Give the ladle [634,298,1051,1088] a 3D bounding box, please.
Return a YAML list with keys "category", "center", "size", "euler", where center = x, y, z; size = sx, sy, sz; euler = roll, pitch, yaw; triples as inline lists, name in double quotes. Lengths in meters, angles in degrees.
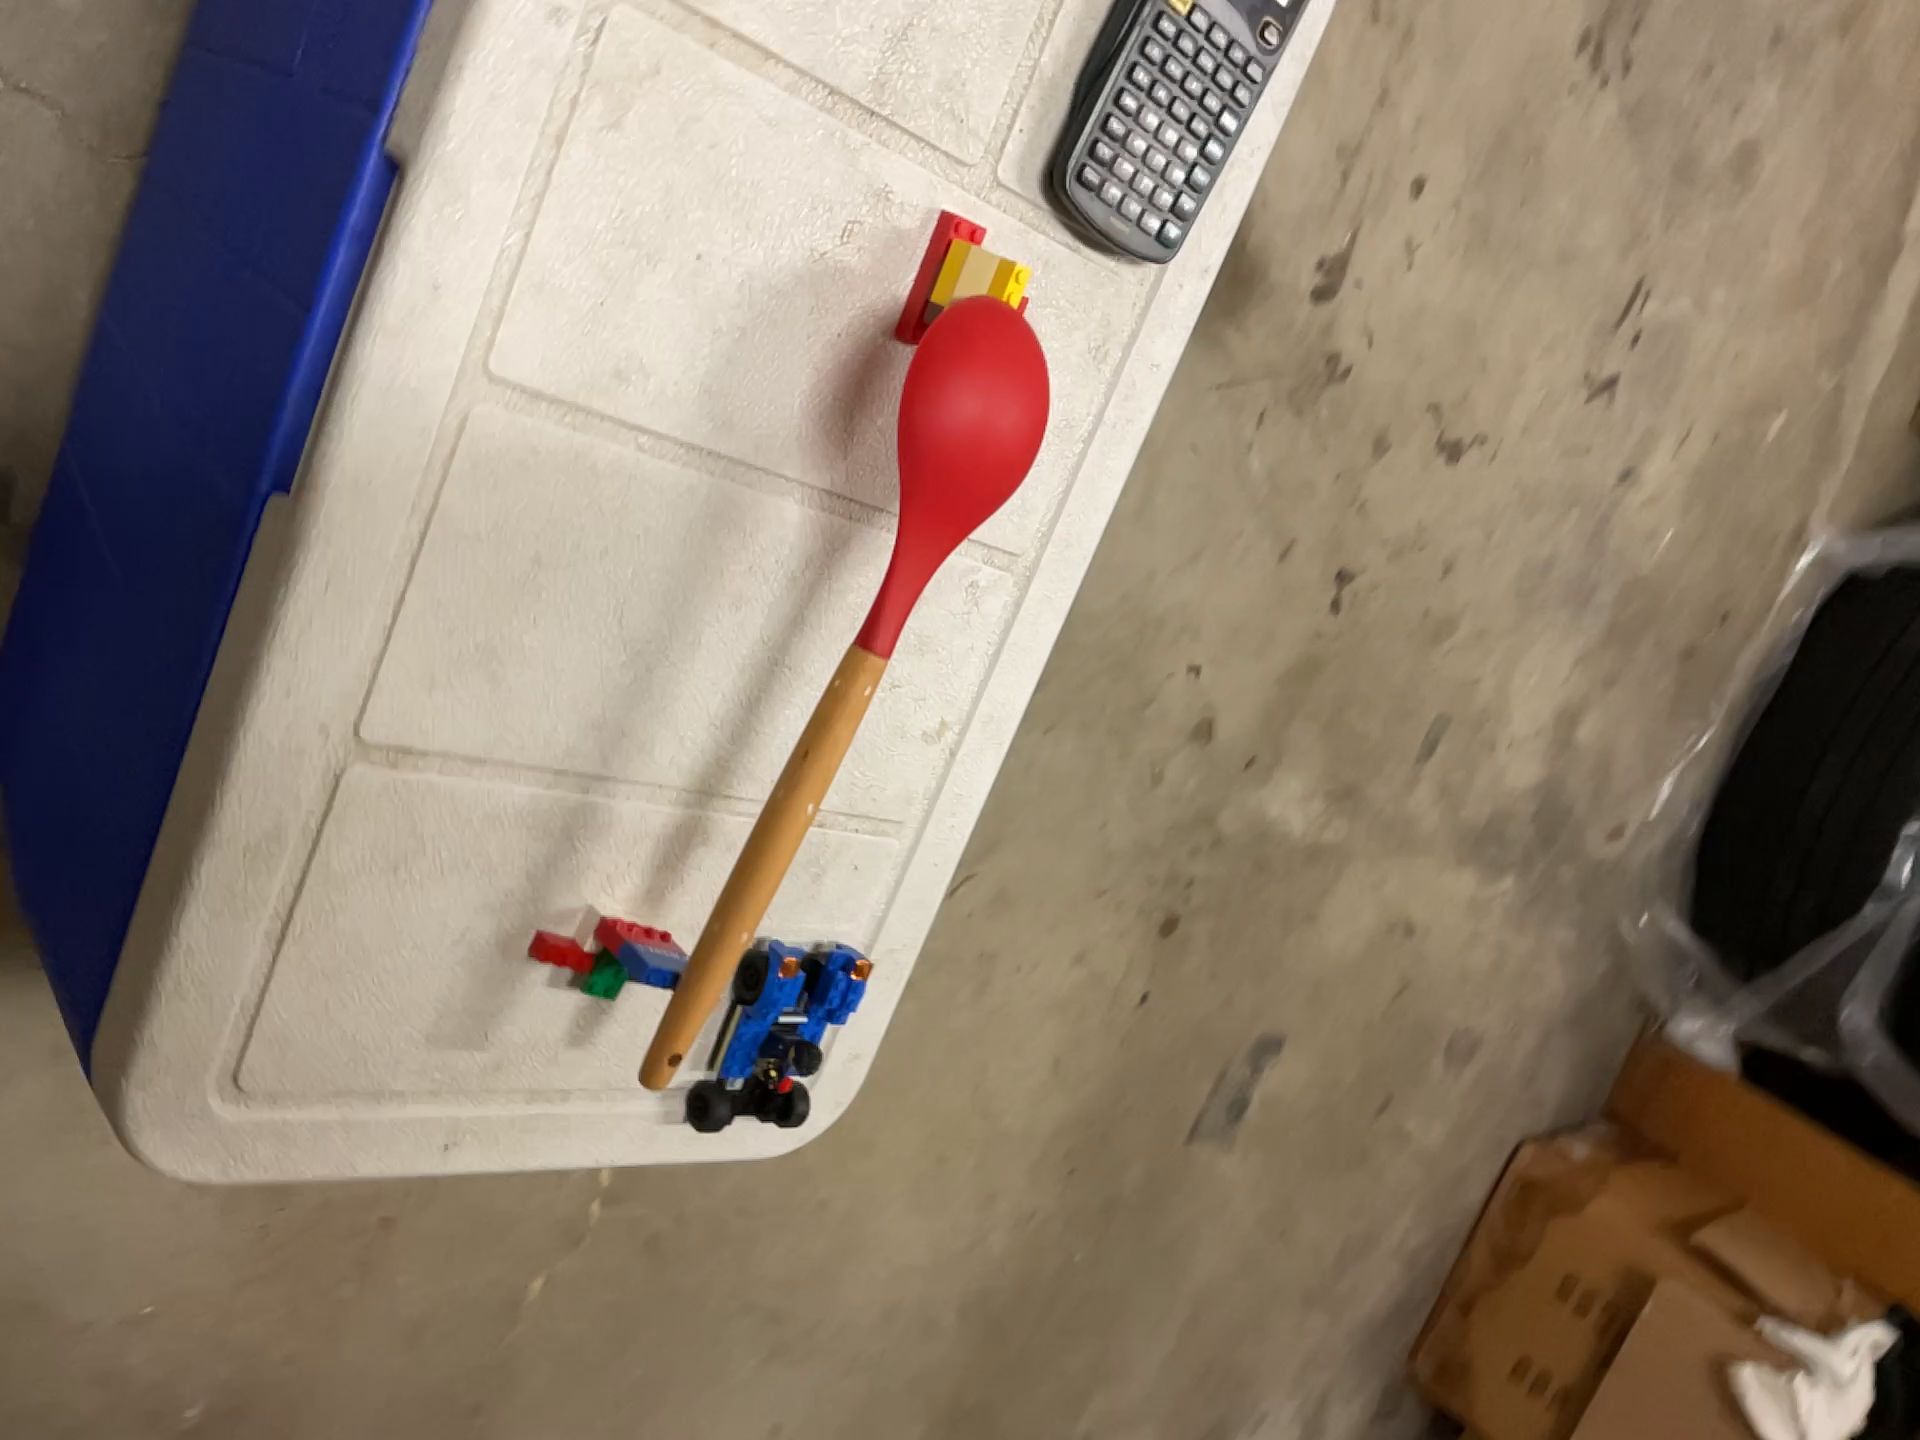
- category: "ladle"
  center: [-0.046, -0.003, 0.580]
  size: [0.069, 0.031, 0.315]
  euler: [20, 100, -46]
